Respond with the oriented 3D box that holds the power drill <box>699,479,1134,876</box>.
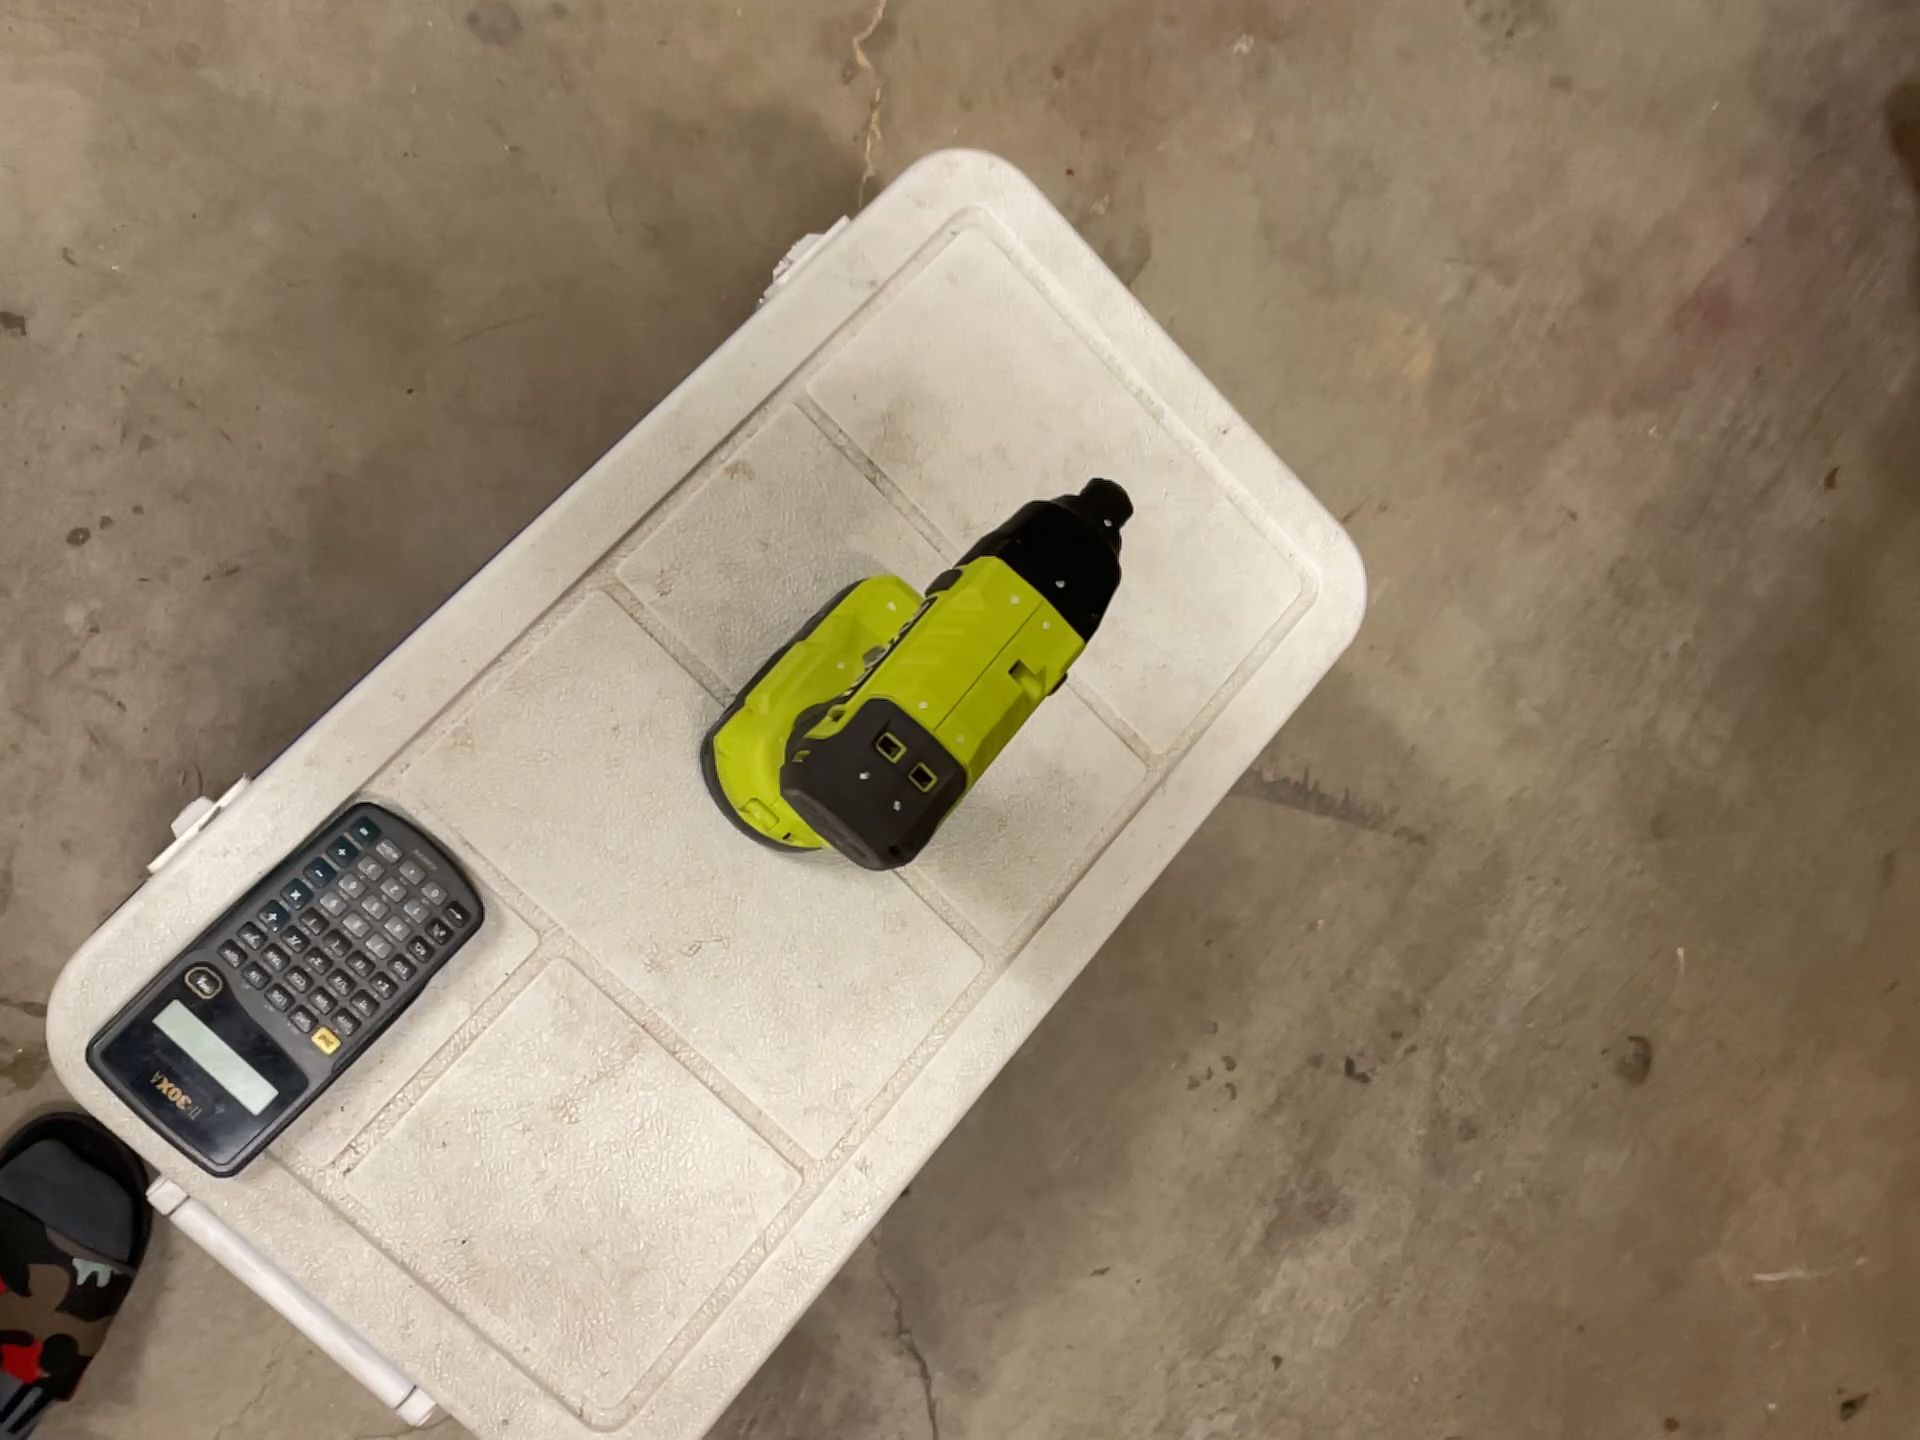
[{"bbox_3d":[-0.021,-0.016,0.661,0.080,0.223,0.171,43,72,-12],"label":"power drill"}]
